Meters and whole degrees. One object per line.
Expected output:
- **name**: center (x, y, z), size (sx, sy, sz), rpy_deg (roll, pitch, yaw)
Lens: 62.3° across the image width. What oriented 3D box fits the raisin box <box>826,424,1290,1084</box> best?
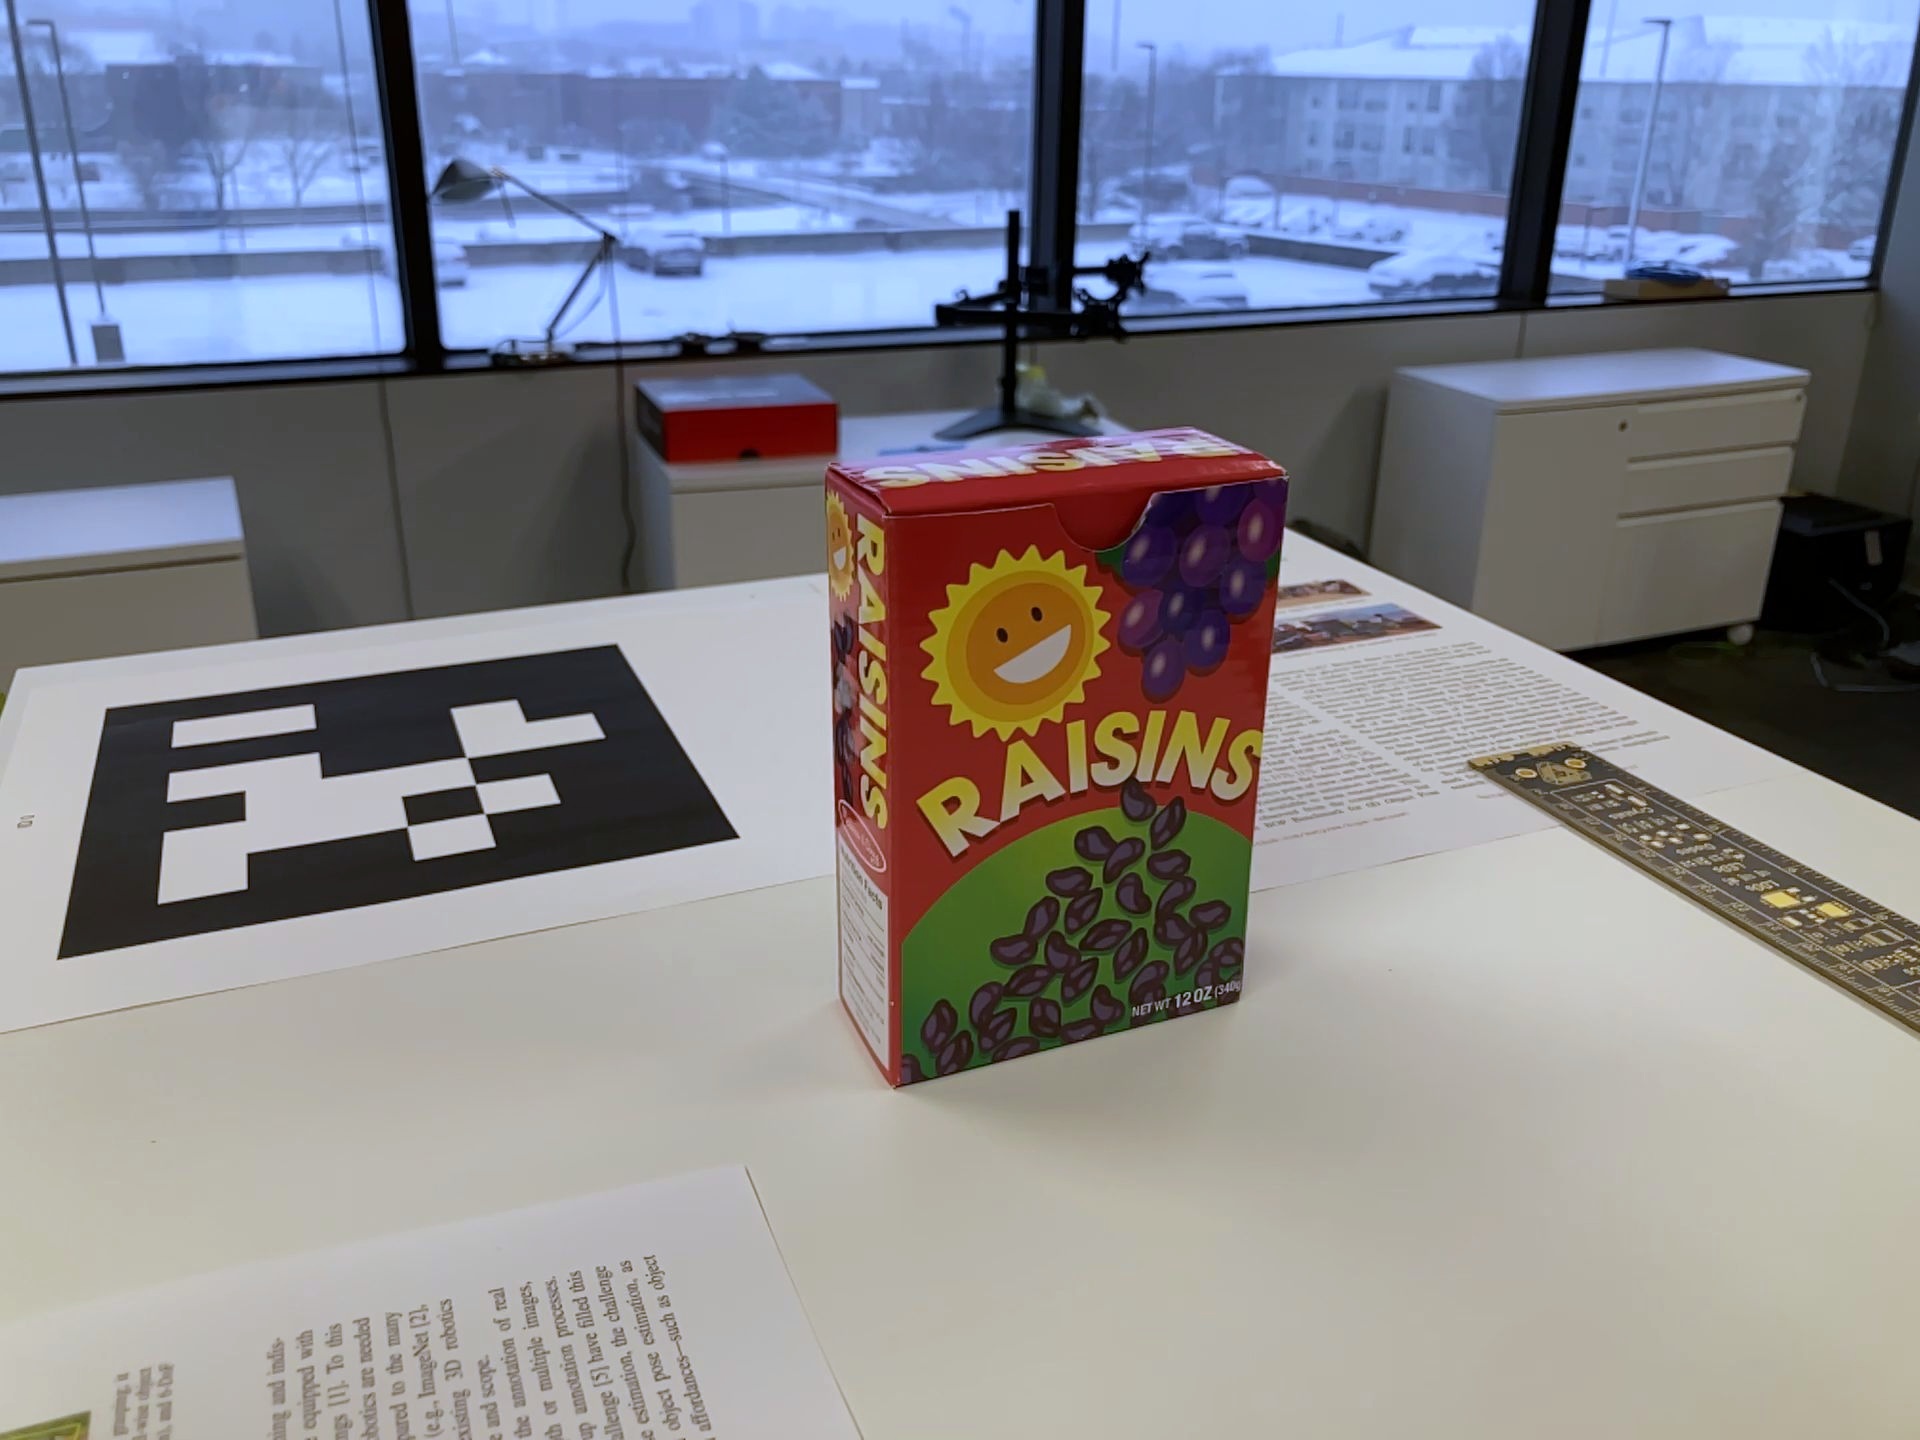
- **raisin box**: center (0.018, 0.005, 0.329), size (0.086, 0.123, 0.040), rpy_deg (-8, 24, -21)
